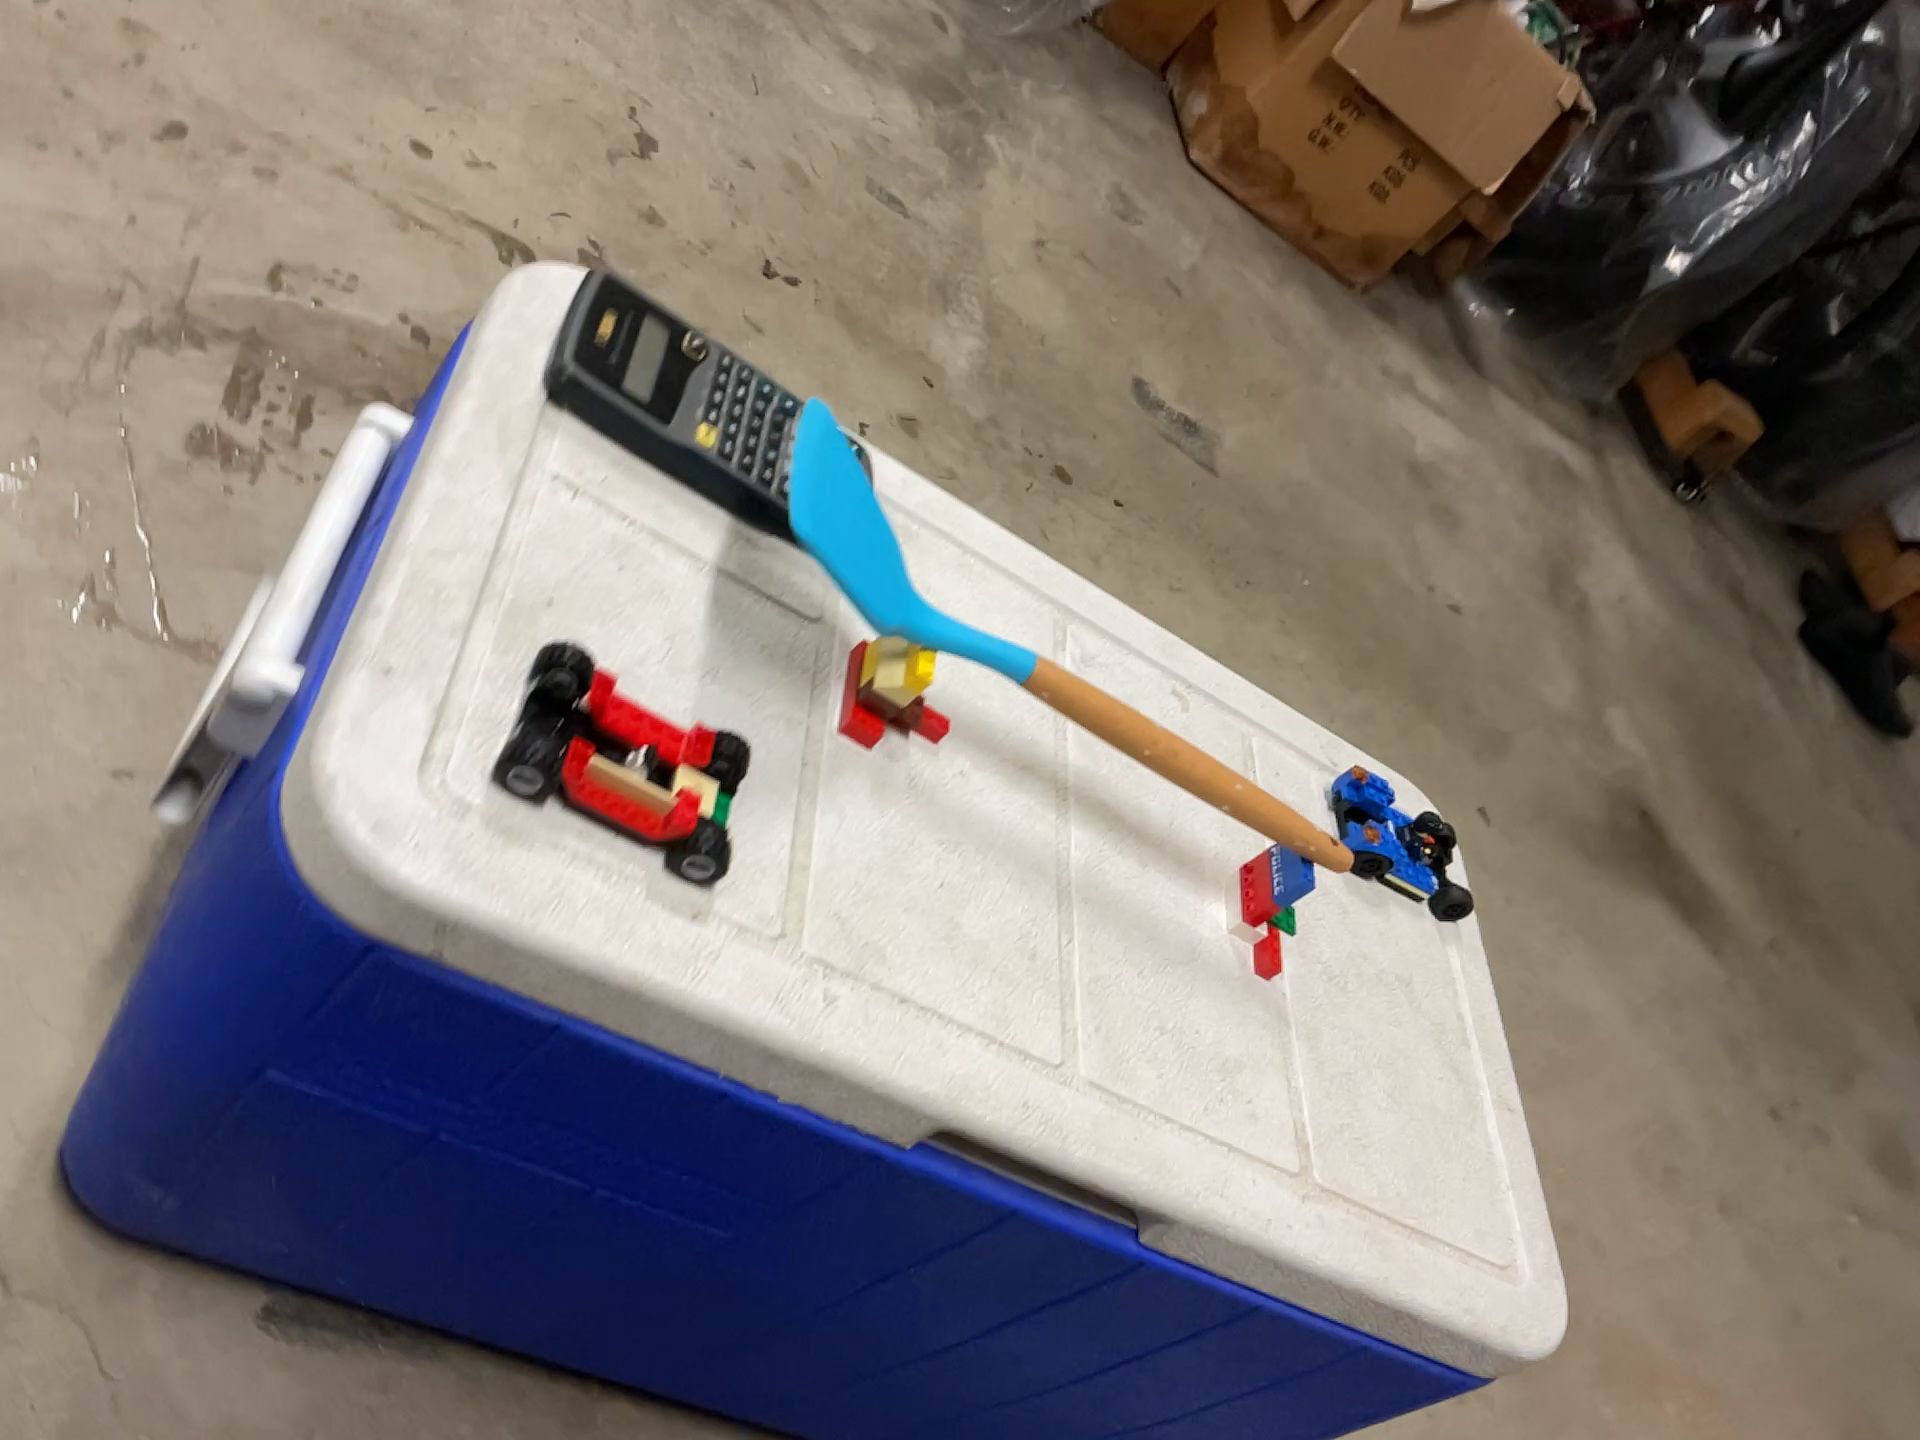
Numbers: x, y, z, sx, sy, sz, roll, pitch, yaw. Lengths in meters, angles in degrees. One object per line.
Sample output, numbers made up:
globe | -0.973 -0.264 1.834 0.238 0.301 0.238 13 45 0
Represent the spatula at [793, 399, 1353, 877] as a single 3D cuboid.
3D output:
spatula | 0.054 -0.013 0.650 0.317 0.044 0.083 30 38 -24
